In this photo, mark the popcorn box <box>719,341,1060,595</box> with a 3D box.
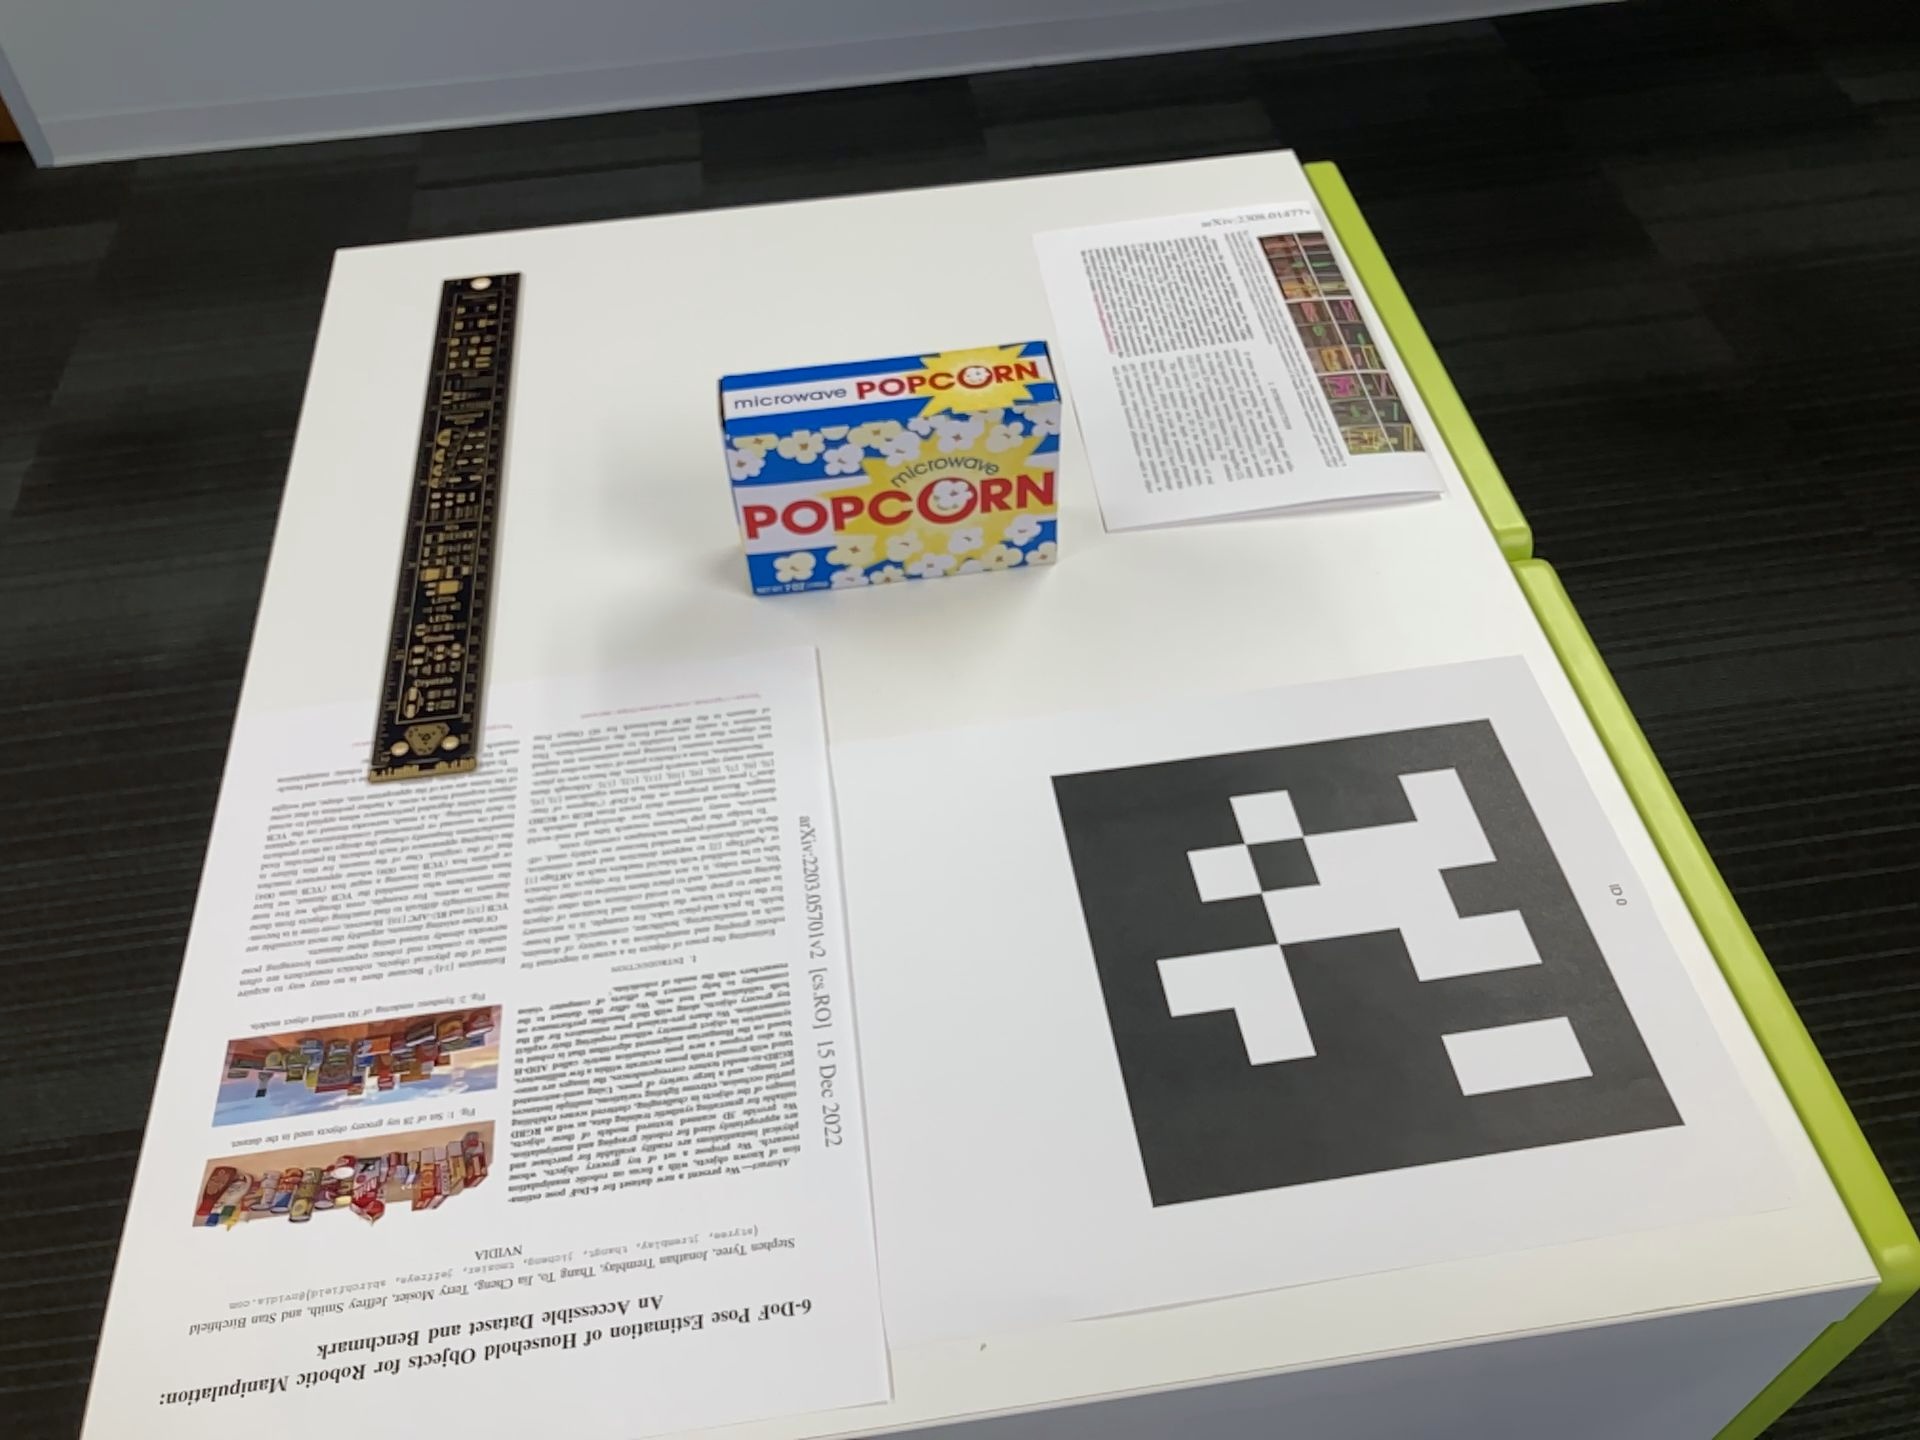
[{"bbox_3d":[-0.026,-0.097,0.620,0.126,0.085,0.038,-7,49,-4],"label":"popcorn box"}]
